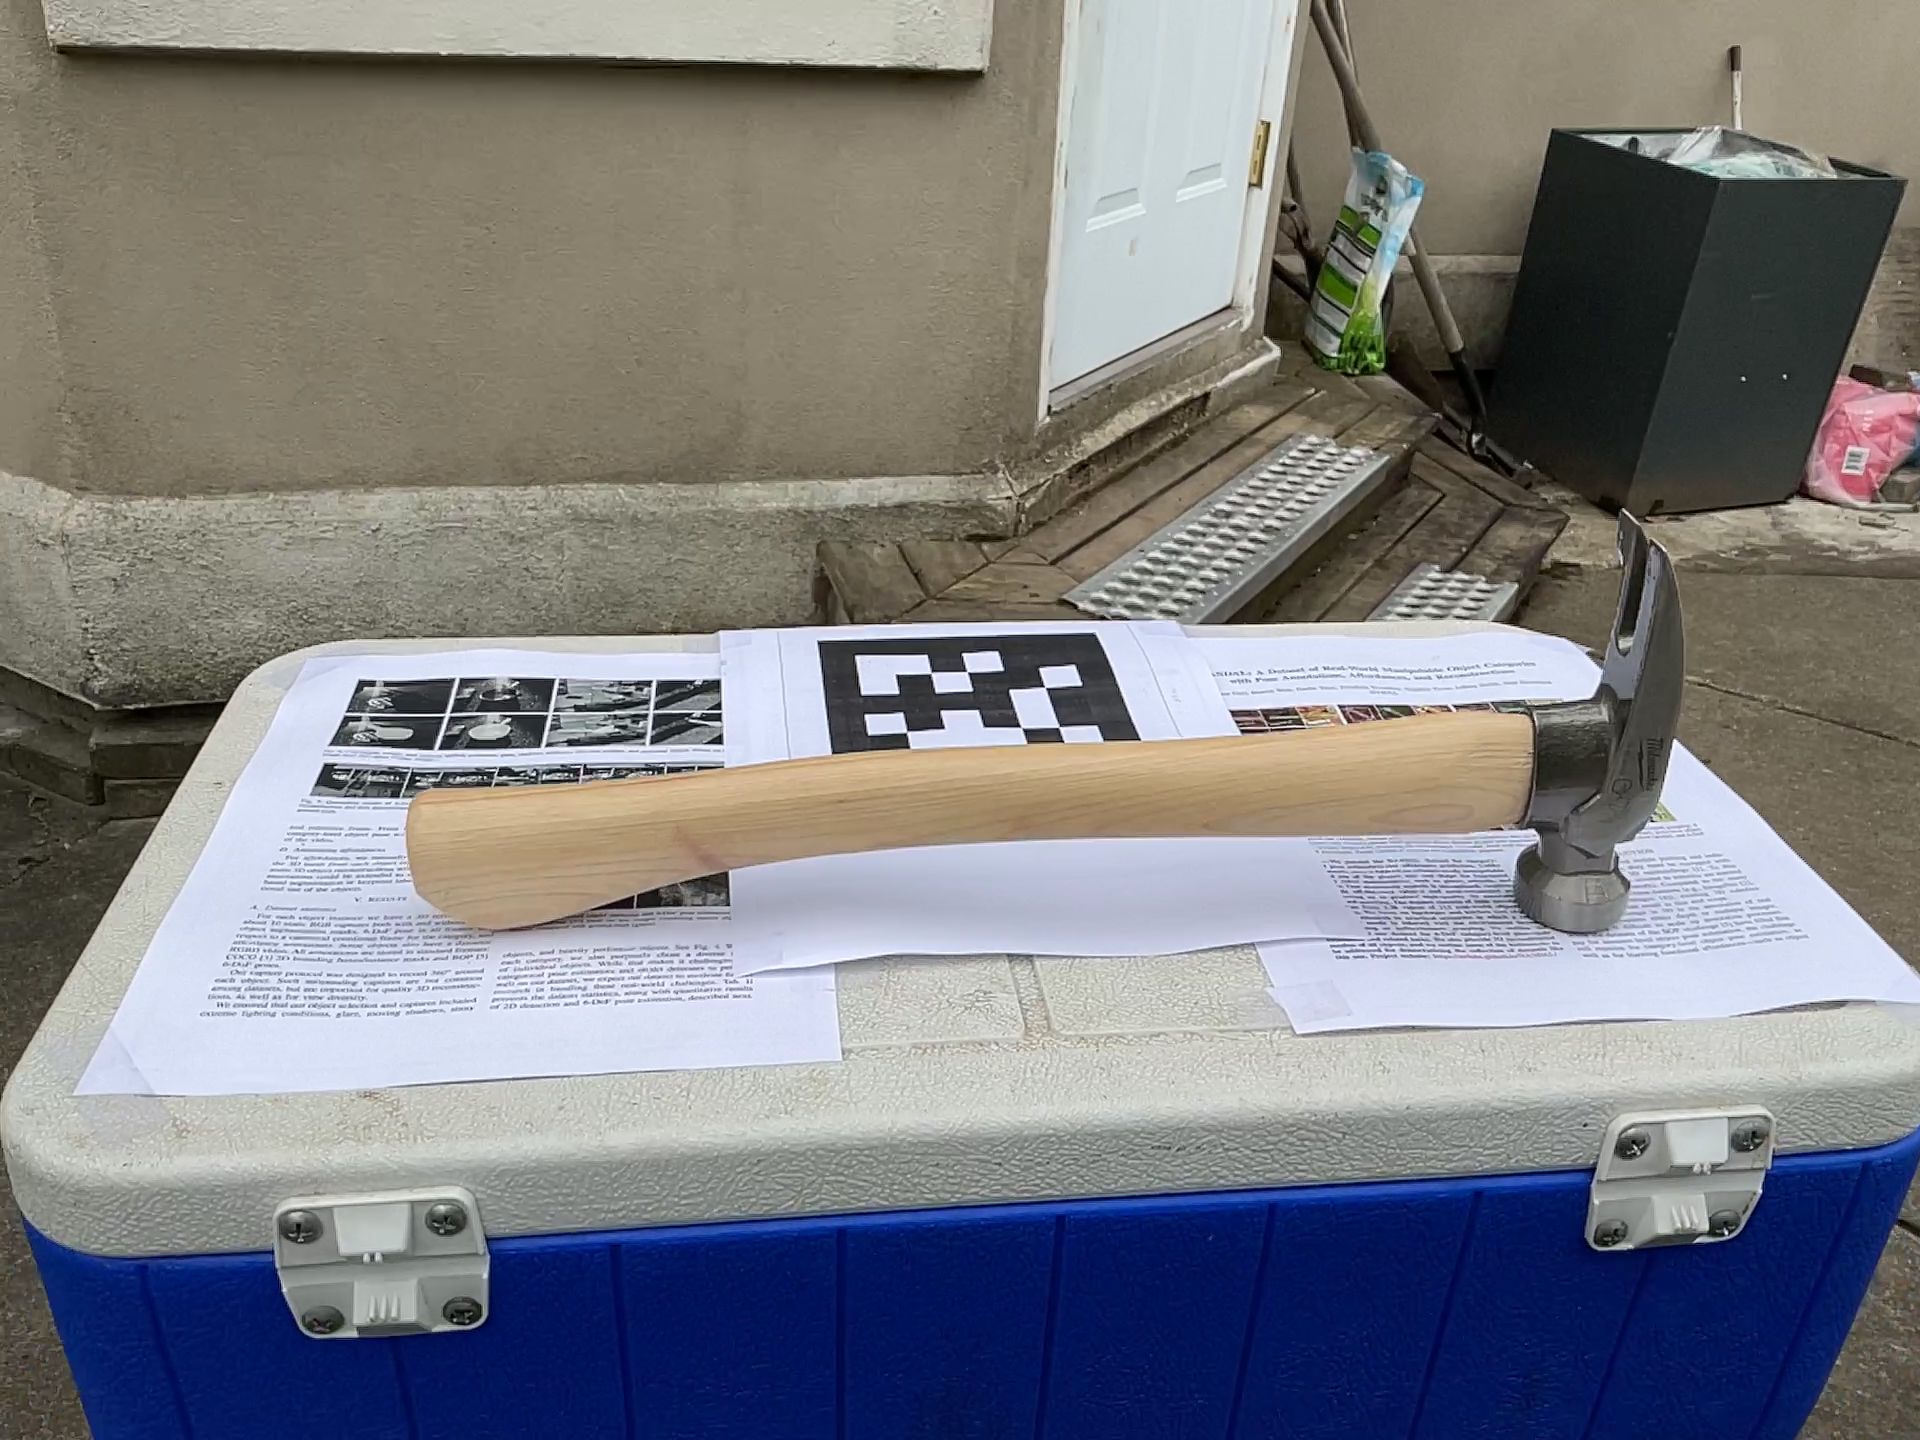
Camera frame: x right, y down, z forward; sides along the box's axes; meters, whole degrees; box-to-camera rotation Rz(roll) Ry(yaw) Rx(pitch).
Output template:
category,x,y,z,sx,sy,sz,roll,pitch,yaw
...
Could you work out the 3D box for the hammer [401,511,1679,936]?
category,x,y,z,sx,sy,sz,roll,pitch,yaw
hammer,0.026,0.018,0.523,0.410,0.146,0.038,-4,30,-3
